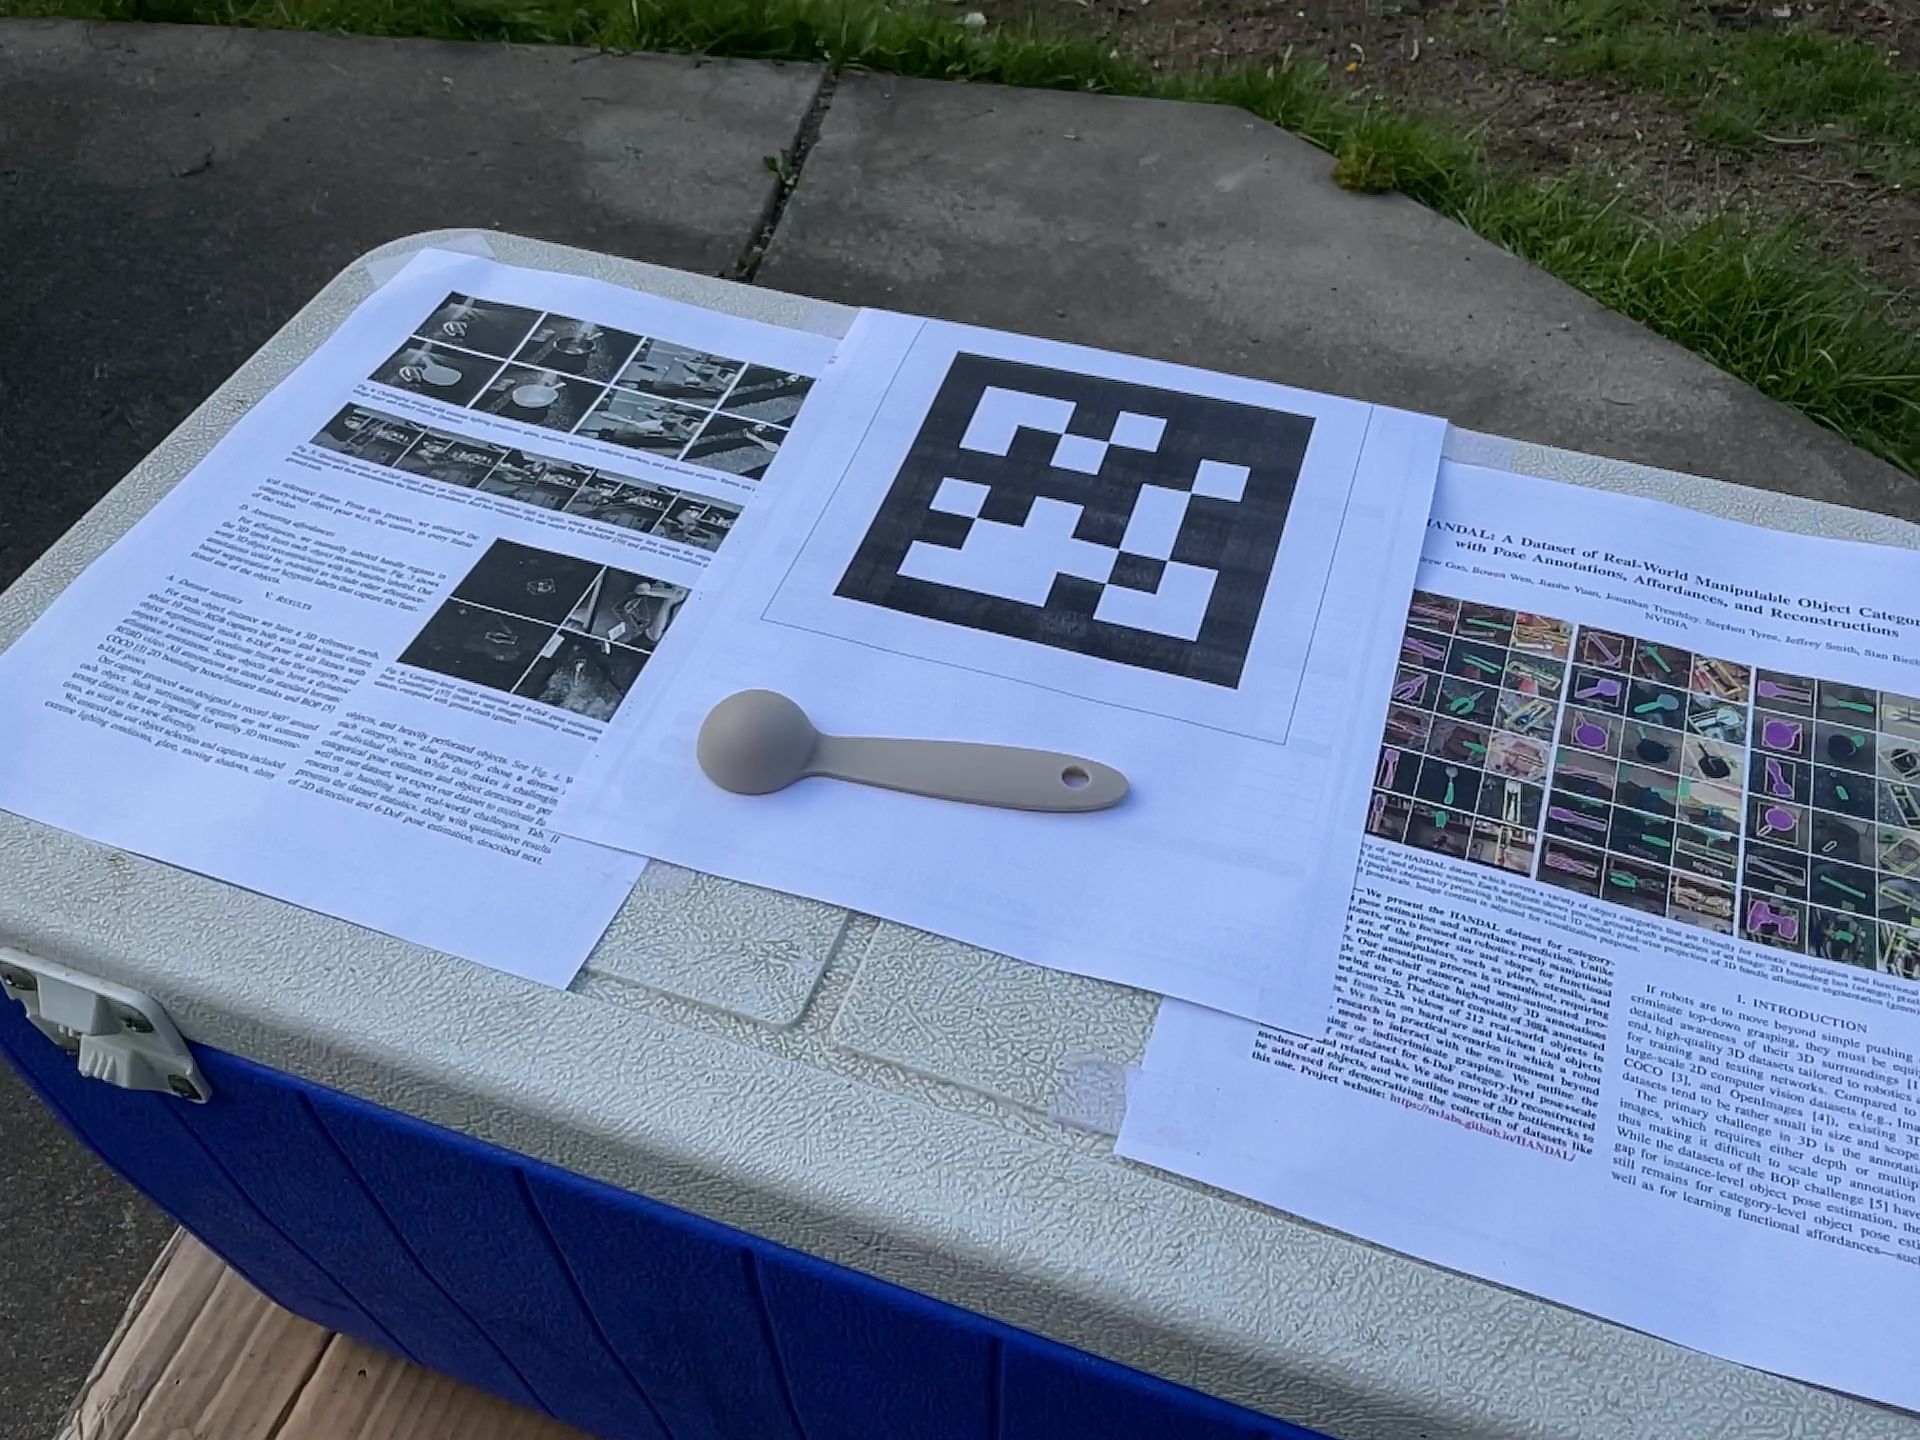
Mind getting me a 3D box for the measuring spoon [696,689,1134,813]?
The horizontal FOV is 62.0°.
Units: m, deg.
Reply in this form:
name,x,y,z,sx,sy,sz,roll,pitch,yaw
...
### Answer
name,x,y,z,sx,sy,sz,roll,pitch,yaw
measuring spoon,-0.013,0.008,0.444,0.124,0.018,0.034,7,49,6
